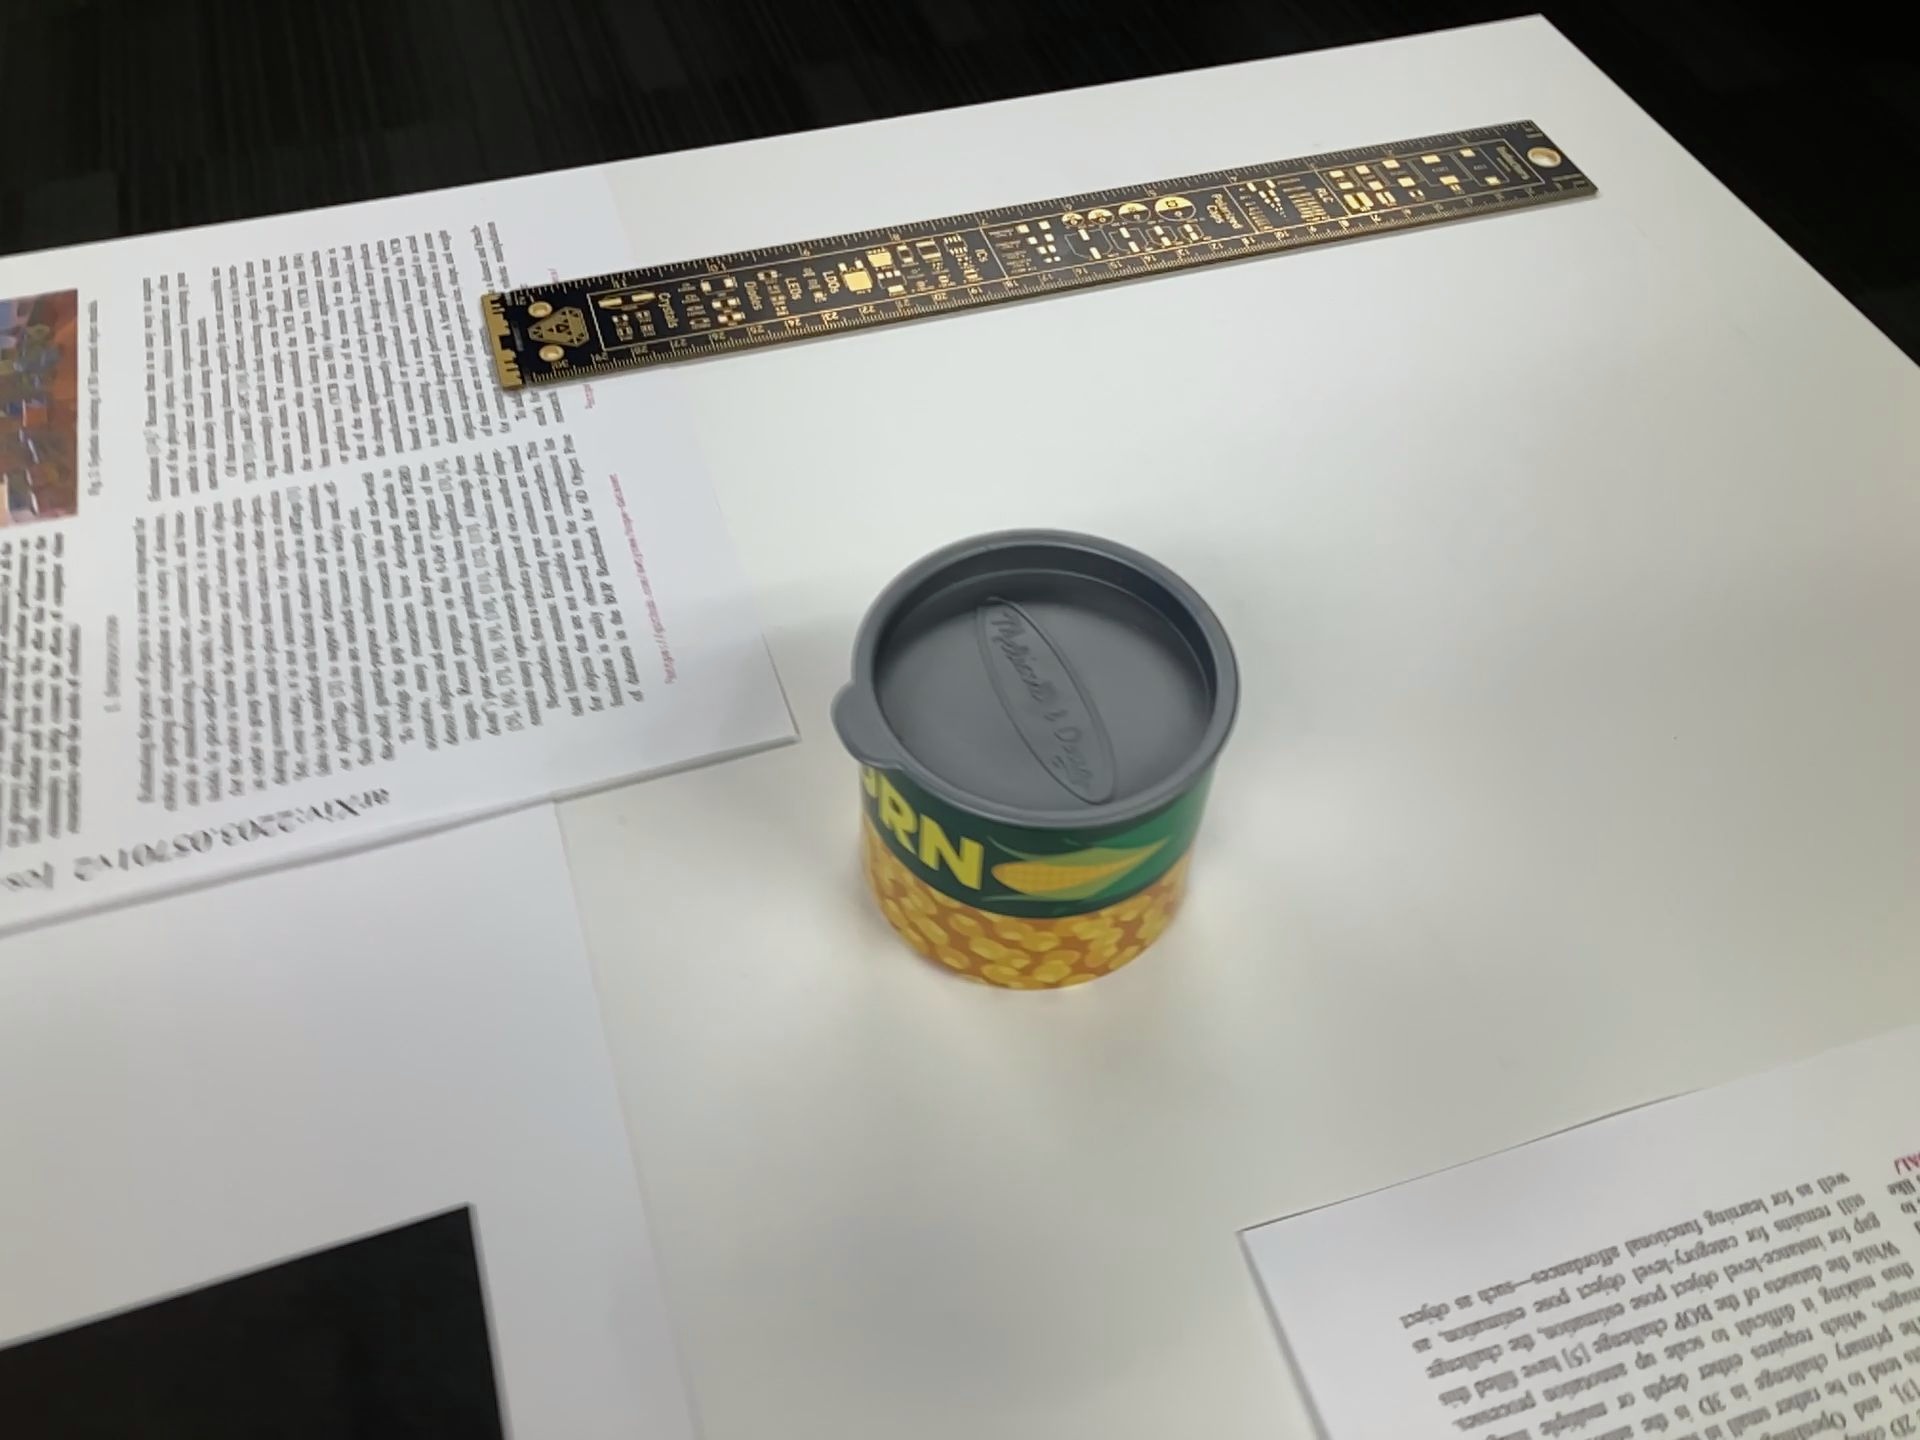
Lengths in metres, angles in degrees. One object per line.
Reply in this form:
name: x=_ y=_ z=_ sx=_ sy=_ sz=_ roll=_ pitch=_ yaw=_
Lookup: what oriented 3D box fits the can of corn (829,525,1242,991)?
can of corn: x=0.012 y=0.009 z=0.292 sx=0.071 sy=0.058 sz=0.071 roll=1 pitch=52 yaw=-1
